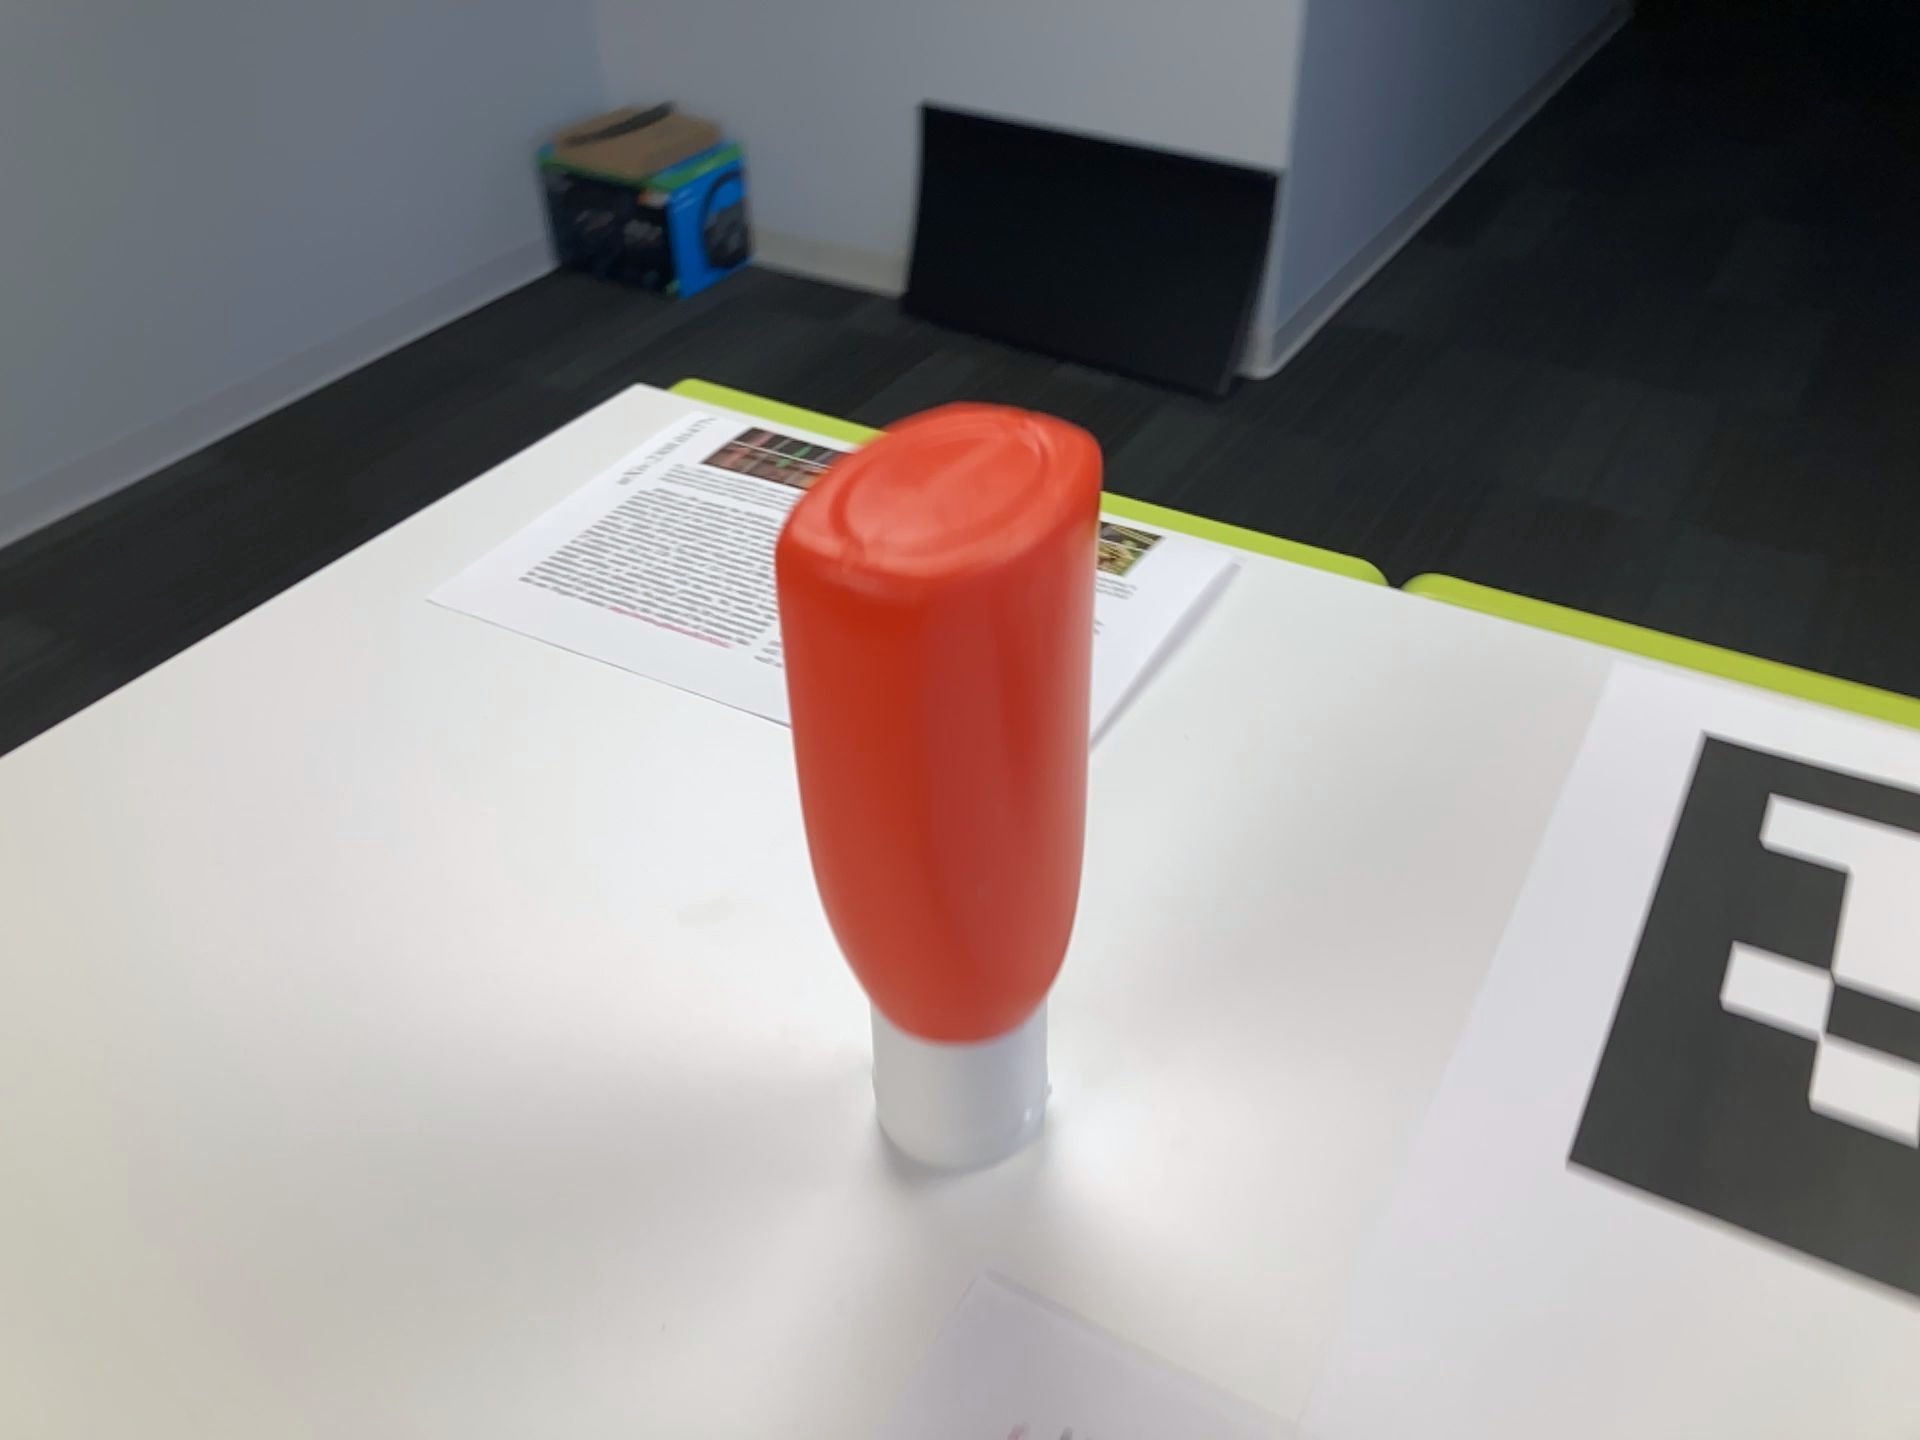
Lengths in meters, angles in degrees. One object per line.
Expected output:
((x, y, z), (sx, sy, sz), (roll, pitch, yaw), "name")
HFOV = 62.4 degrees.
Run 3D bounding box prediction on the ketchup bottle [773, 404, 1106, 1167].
((-0.001, 0.021, 0.292), (0.043, 0.149, 0.065), (19, 41, 26), "ketchup bottle")
